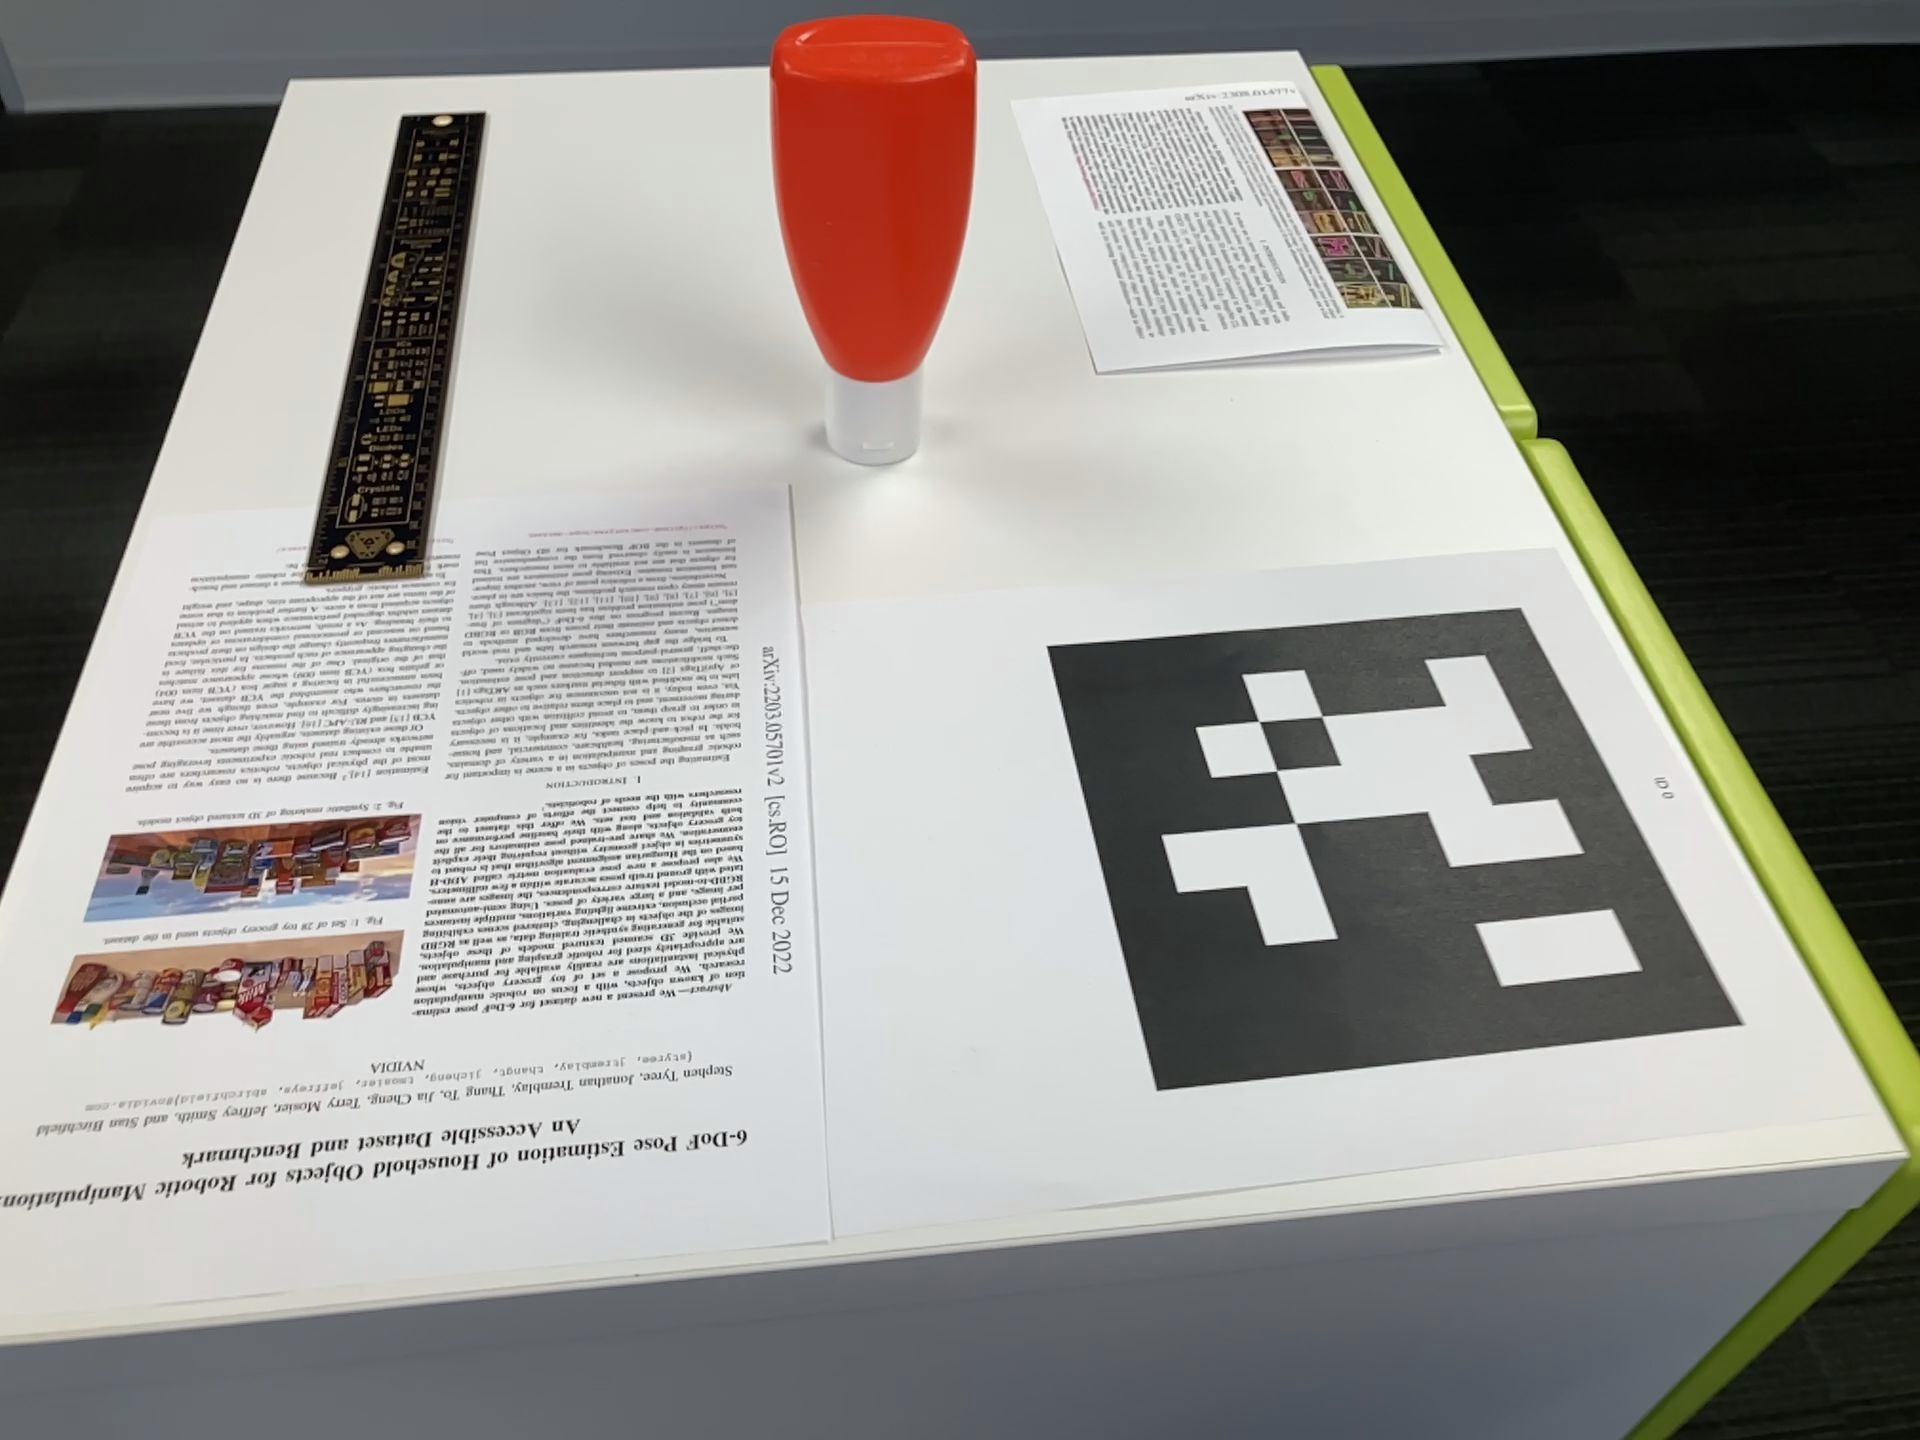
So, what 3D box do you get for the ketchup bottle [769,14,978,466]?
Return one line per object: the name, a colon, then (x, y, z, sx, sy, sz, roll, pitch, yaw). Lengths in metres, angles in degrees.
ketchup bottle: (-0.029, -0.154, 0.530, 0.065, 0.149, 0.043, -3, 48, -6)
